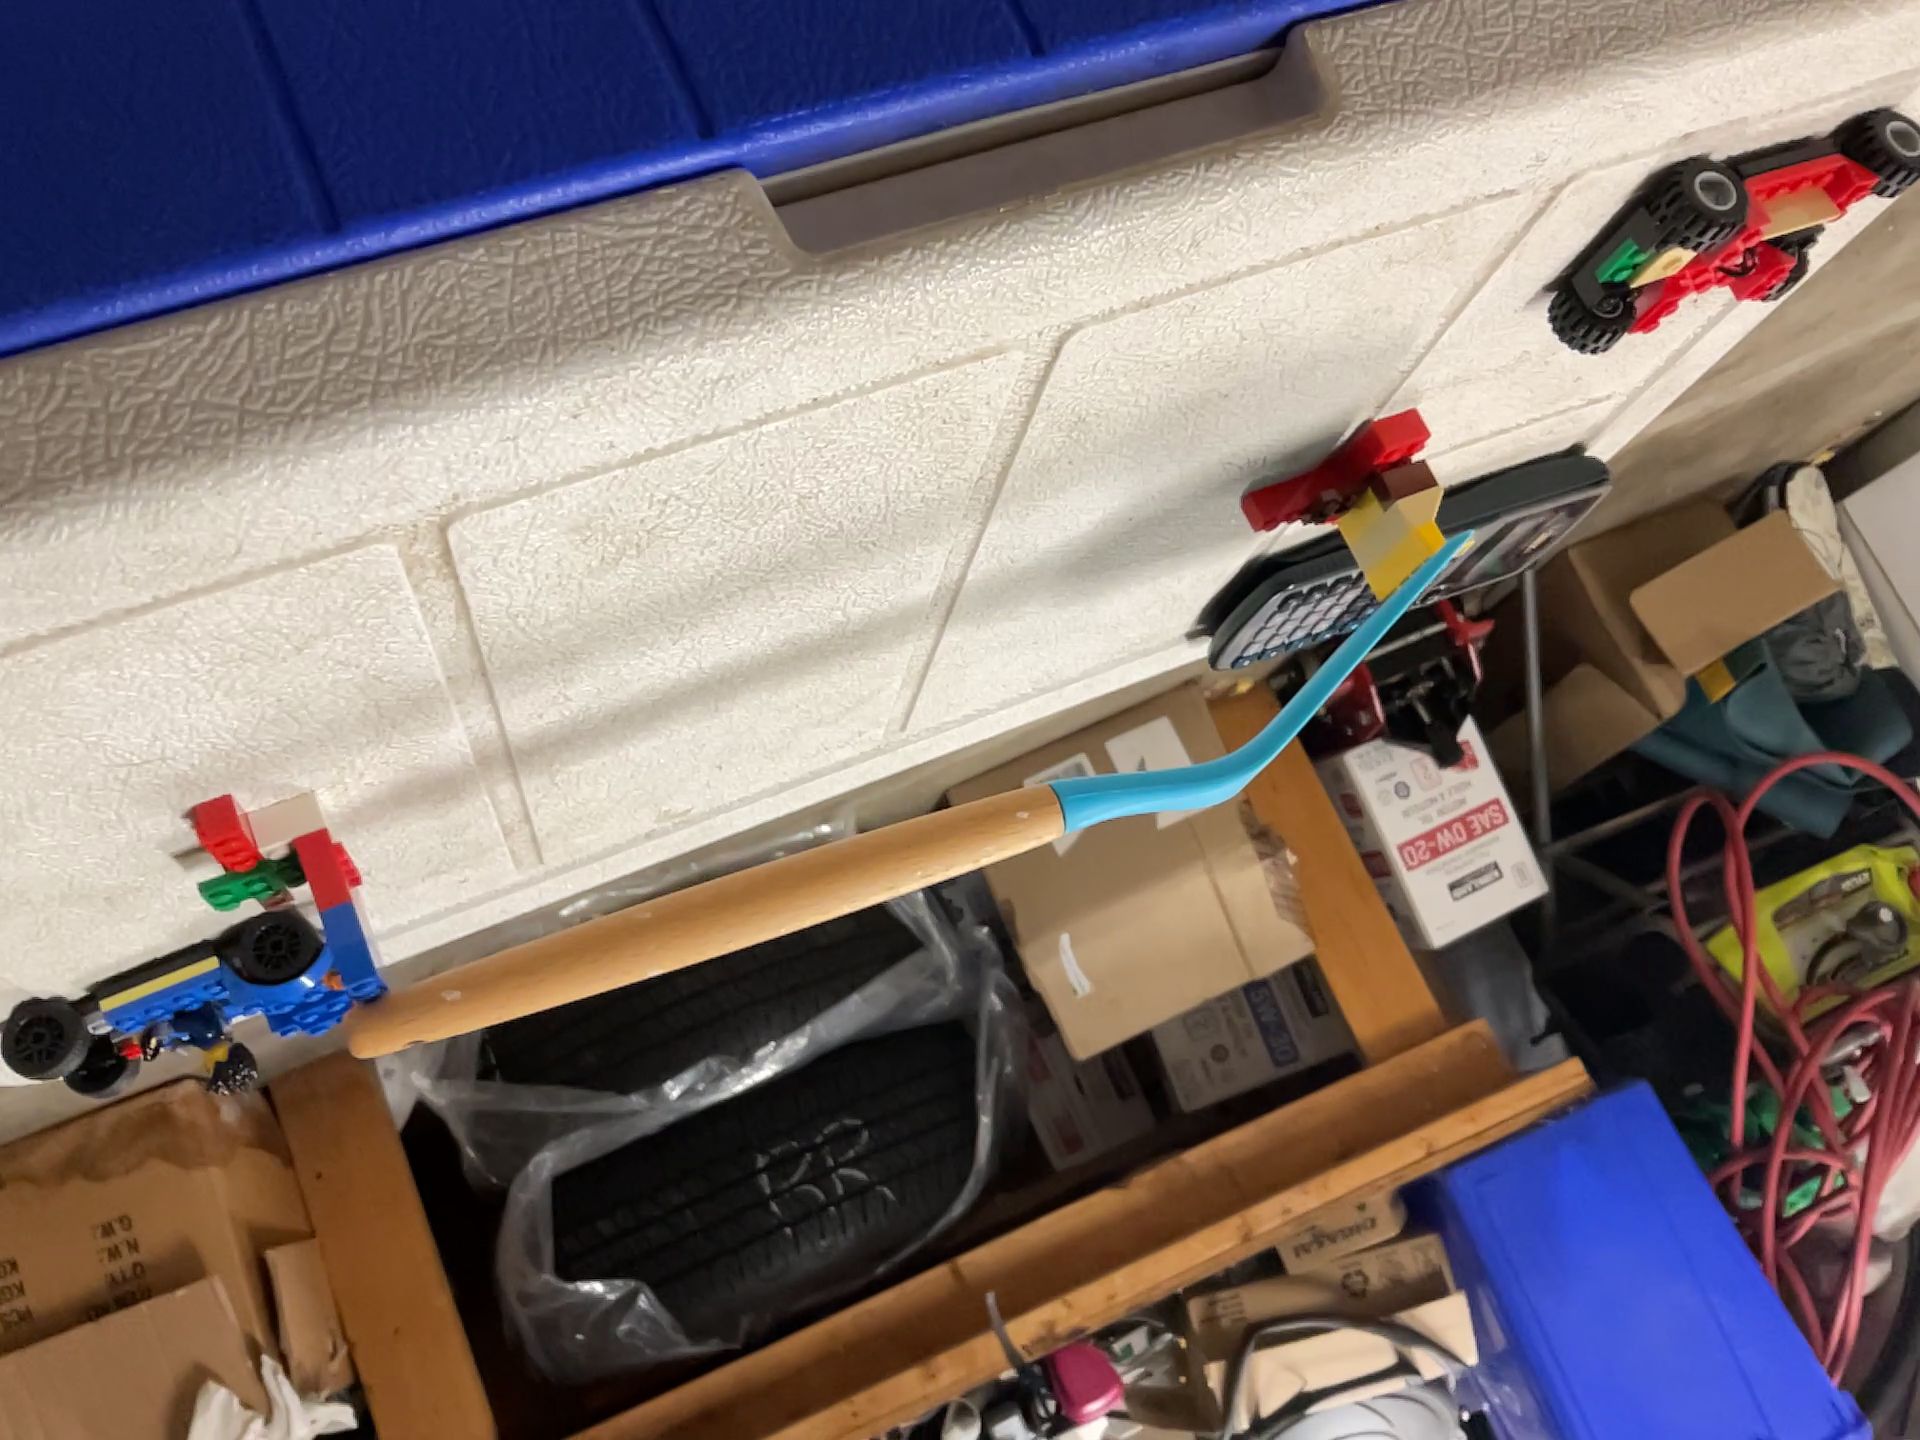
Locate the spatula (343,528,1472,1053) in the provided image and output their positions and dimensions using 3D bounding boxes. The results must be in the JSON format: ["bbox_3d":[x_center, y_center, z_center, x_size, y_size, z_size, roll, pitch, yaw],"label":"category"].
[{"bbox_3d":[-0.003,0.021,0.426,0.317,0.044,0.082,-17,165,-16],"label":"spatula"}]
